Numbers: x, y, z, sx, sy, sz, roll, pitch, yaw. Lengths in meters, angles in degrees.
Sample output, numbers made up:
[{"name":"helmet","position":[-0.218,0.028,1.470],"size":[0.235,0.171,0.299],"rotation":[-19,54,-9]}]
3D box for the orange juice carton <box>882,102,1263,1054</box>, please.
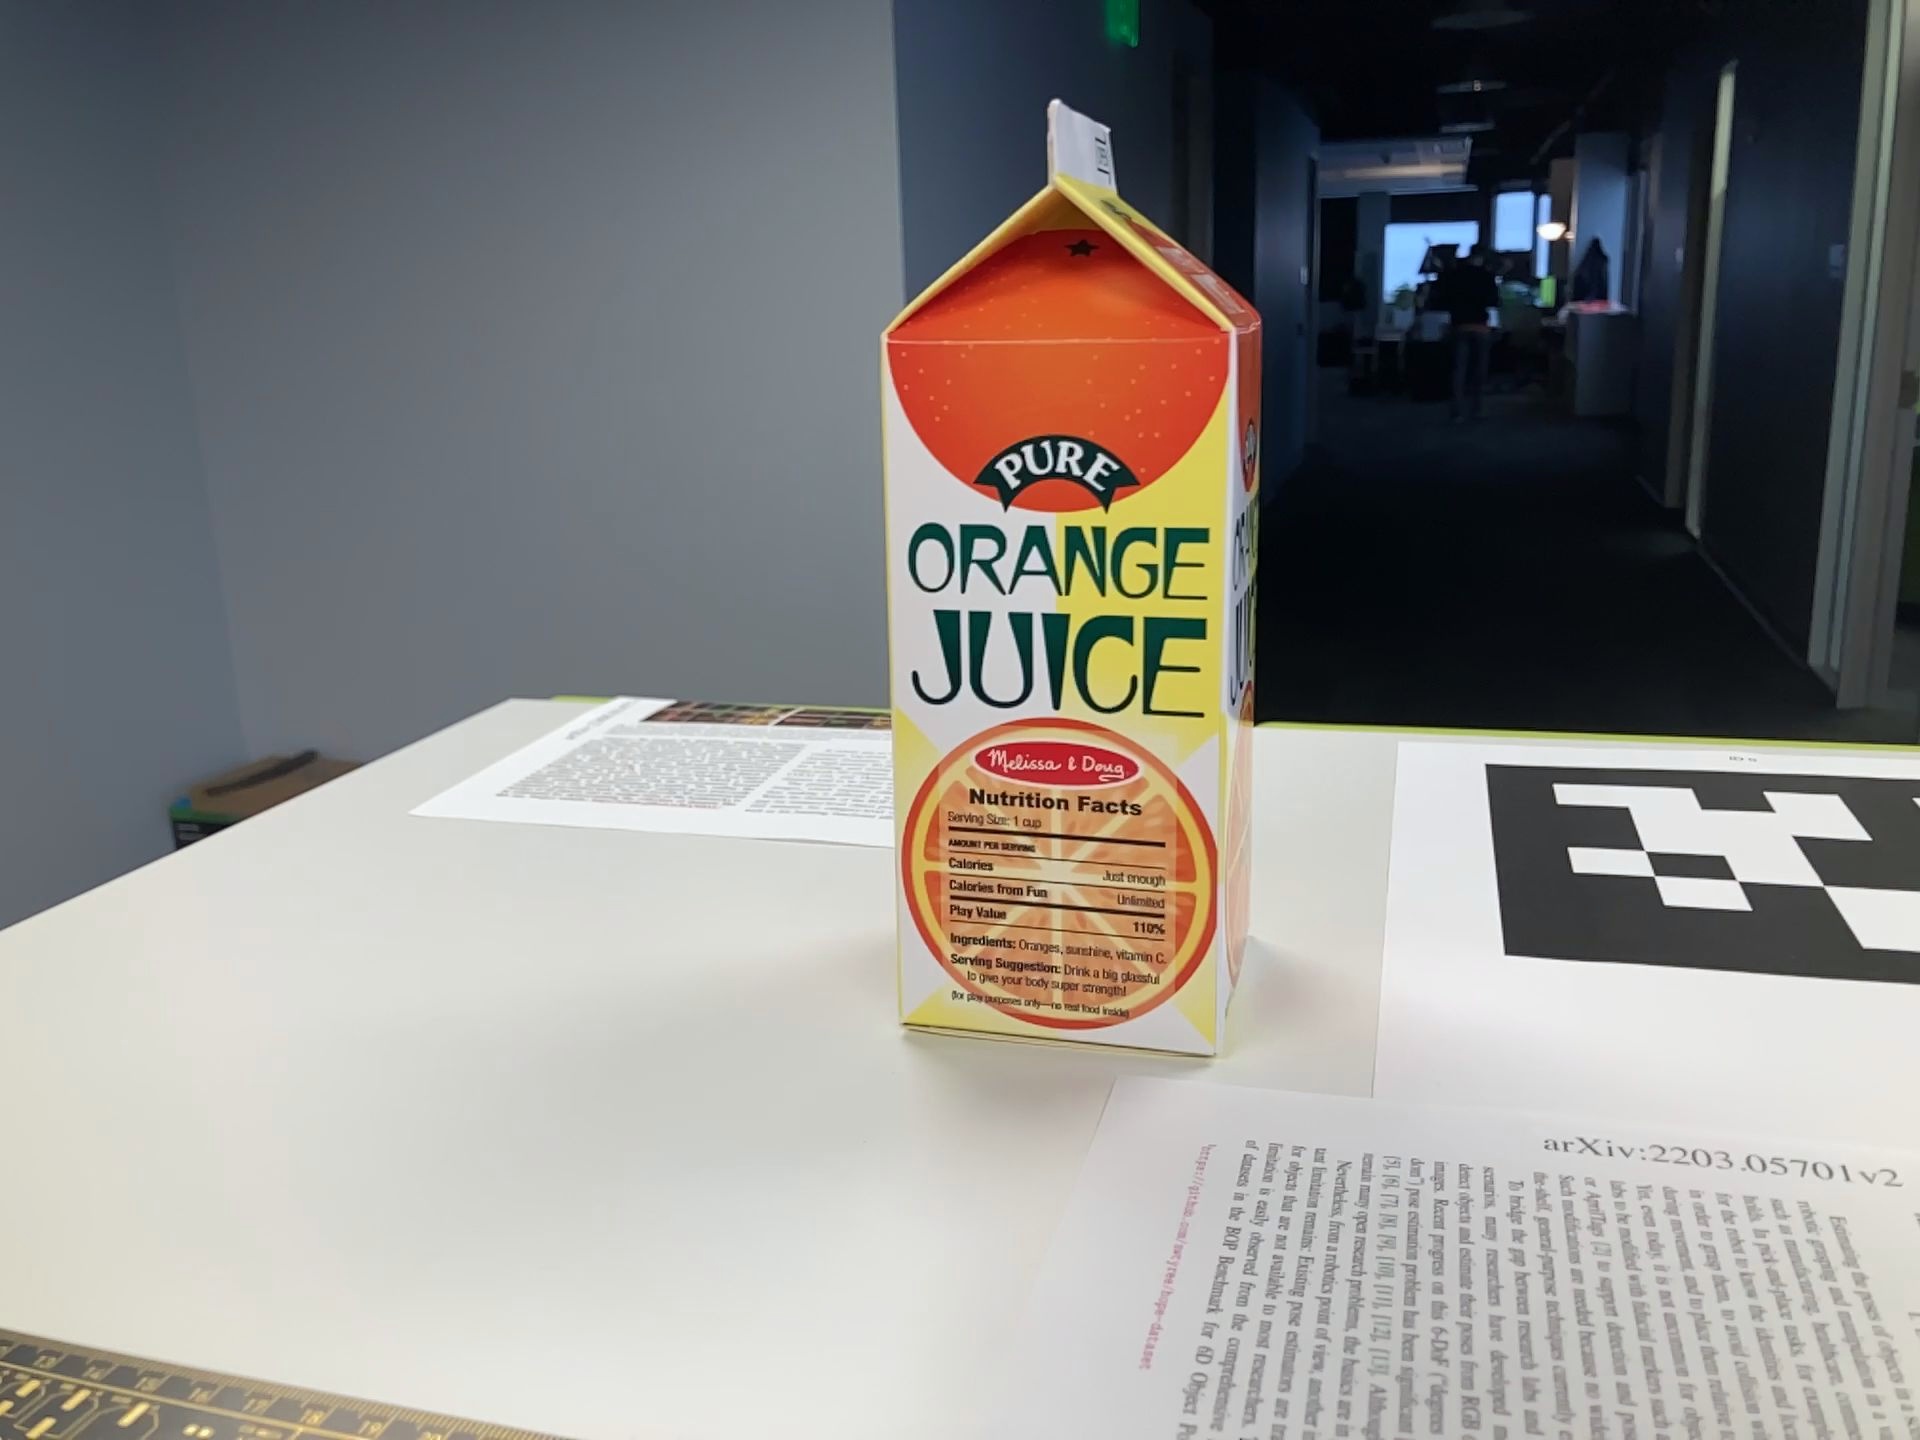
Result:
[{"name":"orange juice carton","position":[0.027,-0.031,0.351],"size":[0.073,0.192,0.072],"rotation":[2,14,15]}]
